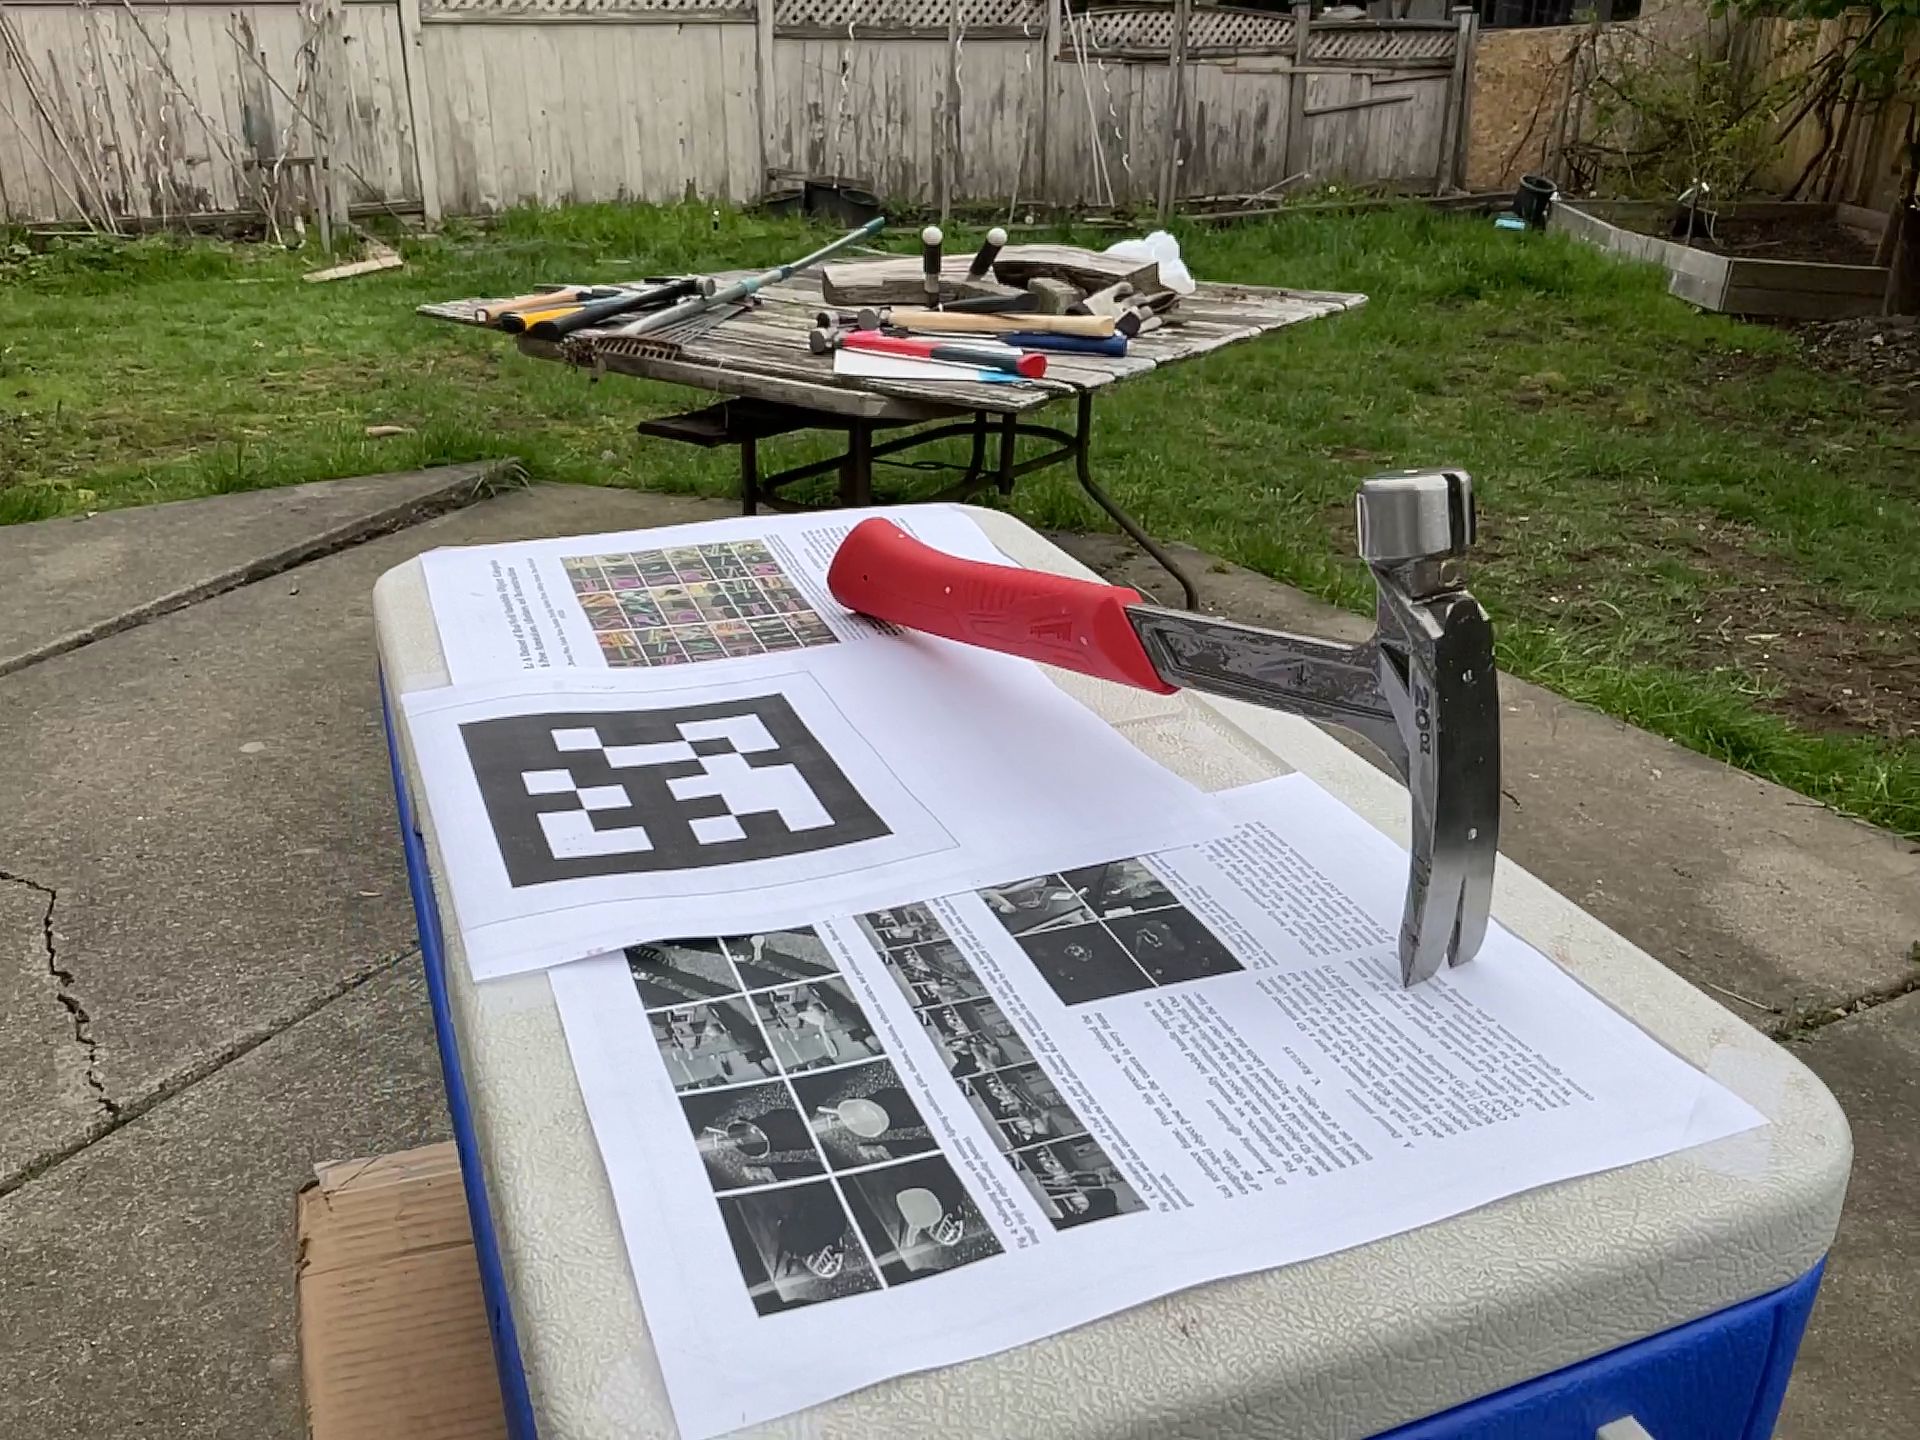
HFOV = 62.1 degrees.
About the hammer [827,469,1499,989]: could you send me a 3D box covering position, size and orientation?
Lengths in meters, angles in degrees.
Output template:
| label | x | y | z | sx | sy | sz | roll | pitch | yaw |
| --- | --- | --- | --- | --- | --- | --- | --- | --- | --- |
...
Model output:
| label | x | y | z | sx | sy | sz | roll | pitch | yaw |
| --- | --- | --- | --- | --- | --- | --- | --- | --- | --- |
| hammer | 0.048 | -0.024 | 0.596 | 0.036 | 0.149 | 0.359 | -14 | 17 | -29 |
